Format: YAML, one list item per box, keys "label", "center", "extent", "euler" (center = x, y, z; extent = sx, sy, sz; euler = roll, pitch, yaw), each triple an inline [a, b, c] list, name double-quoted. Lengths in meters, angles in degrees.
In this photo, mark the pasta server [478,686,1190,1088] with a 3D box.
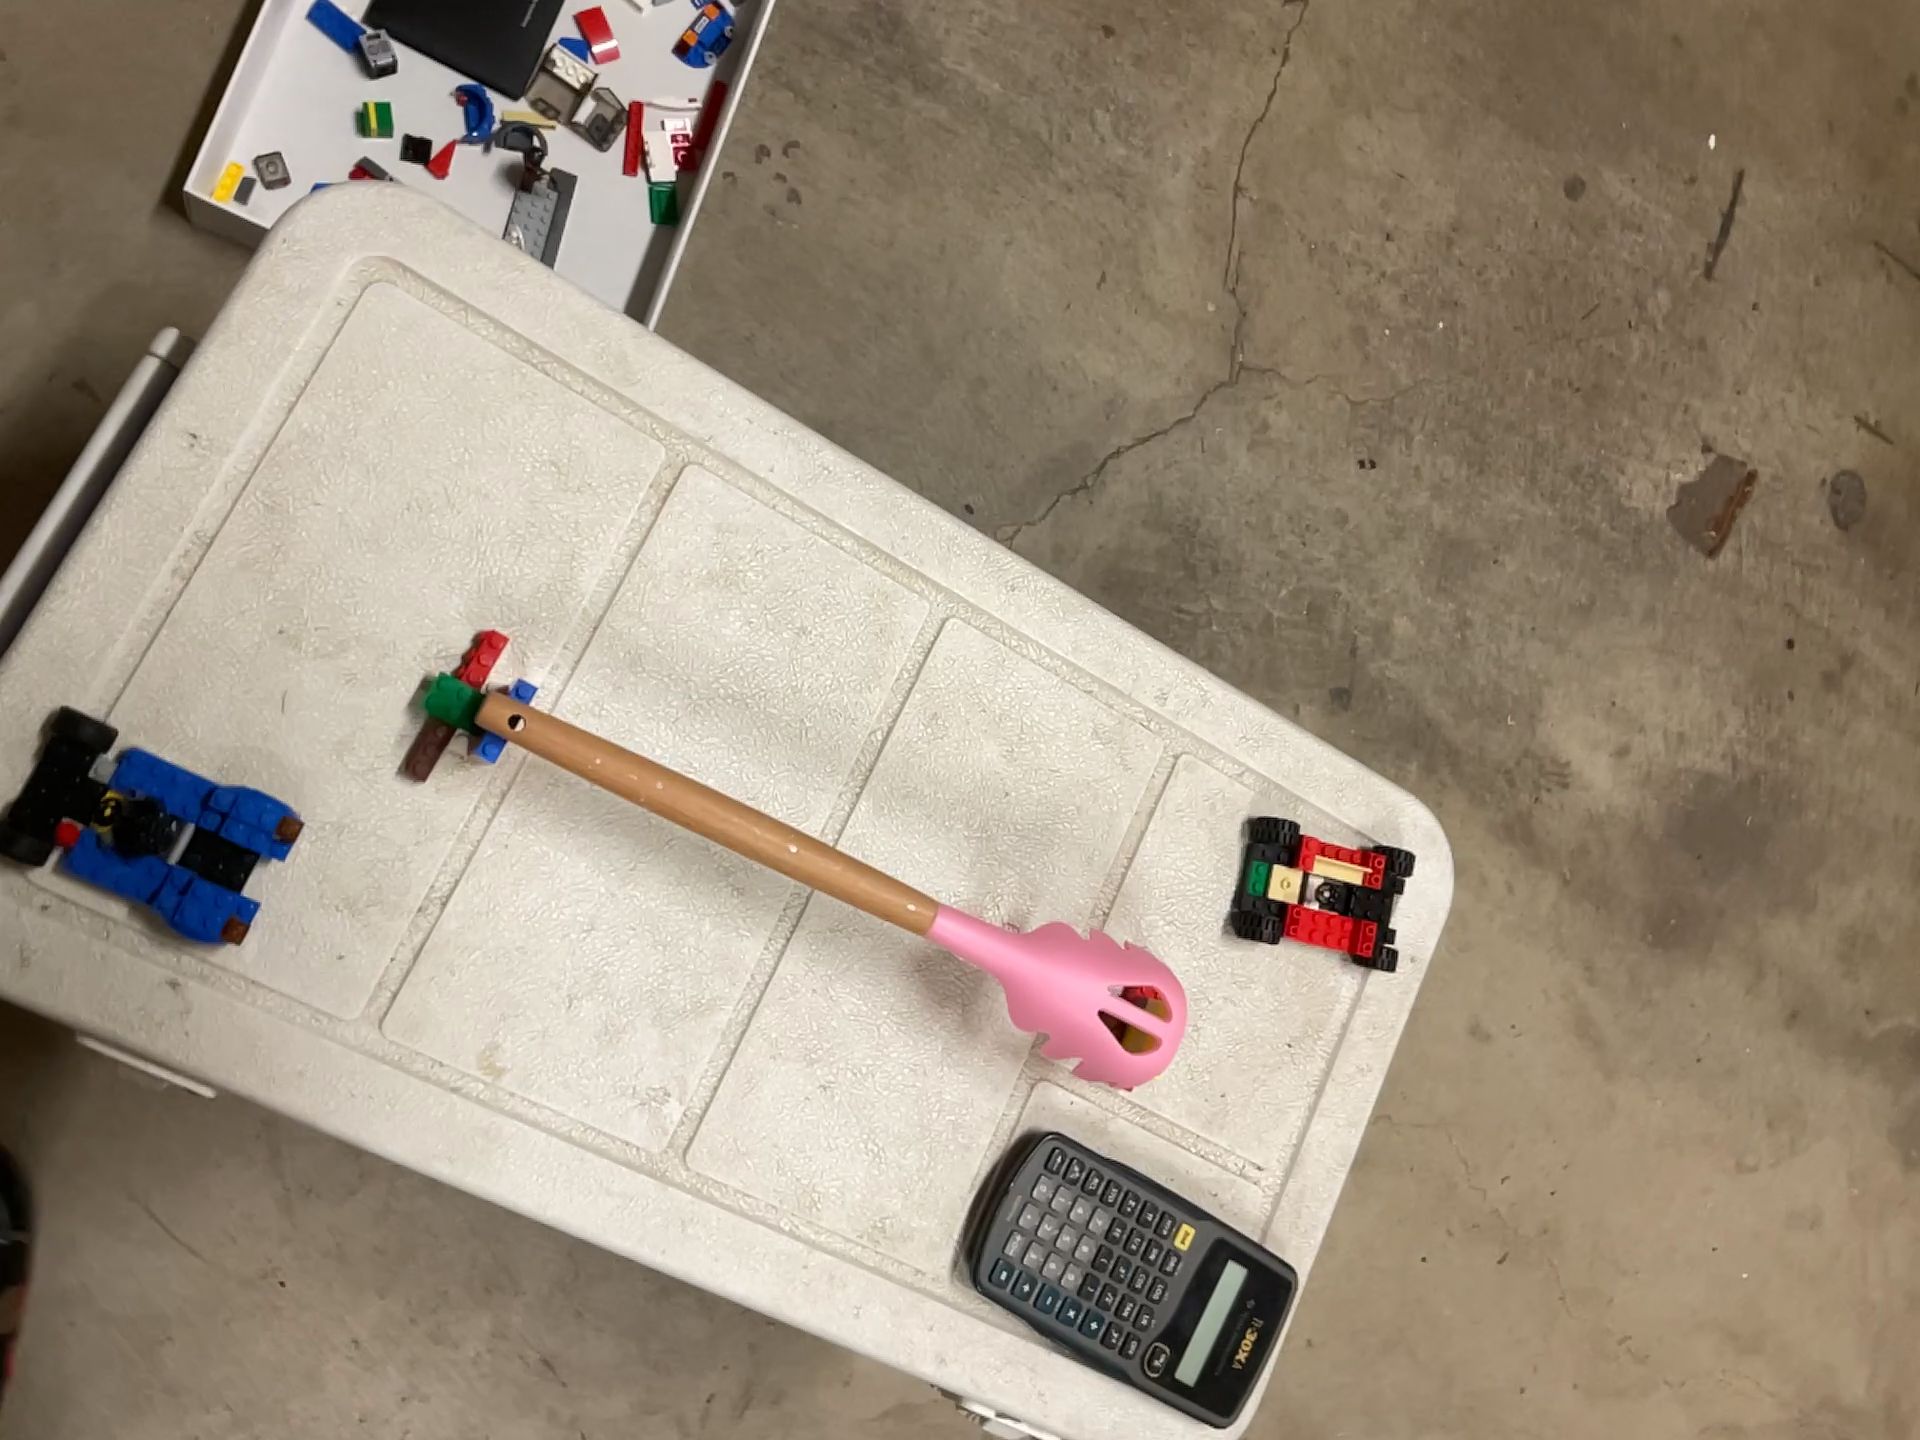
- label: "pasta server"
  center: [-0.037, 0.065, 0.618]
  extent: [0.316, 0.040, 0.060]
  euler: [28, 79, -15]
